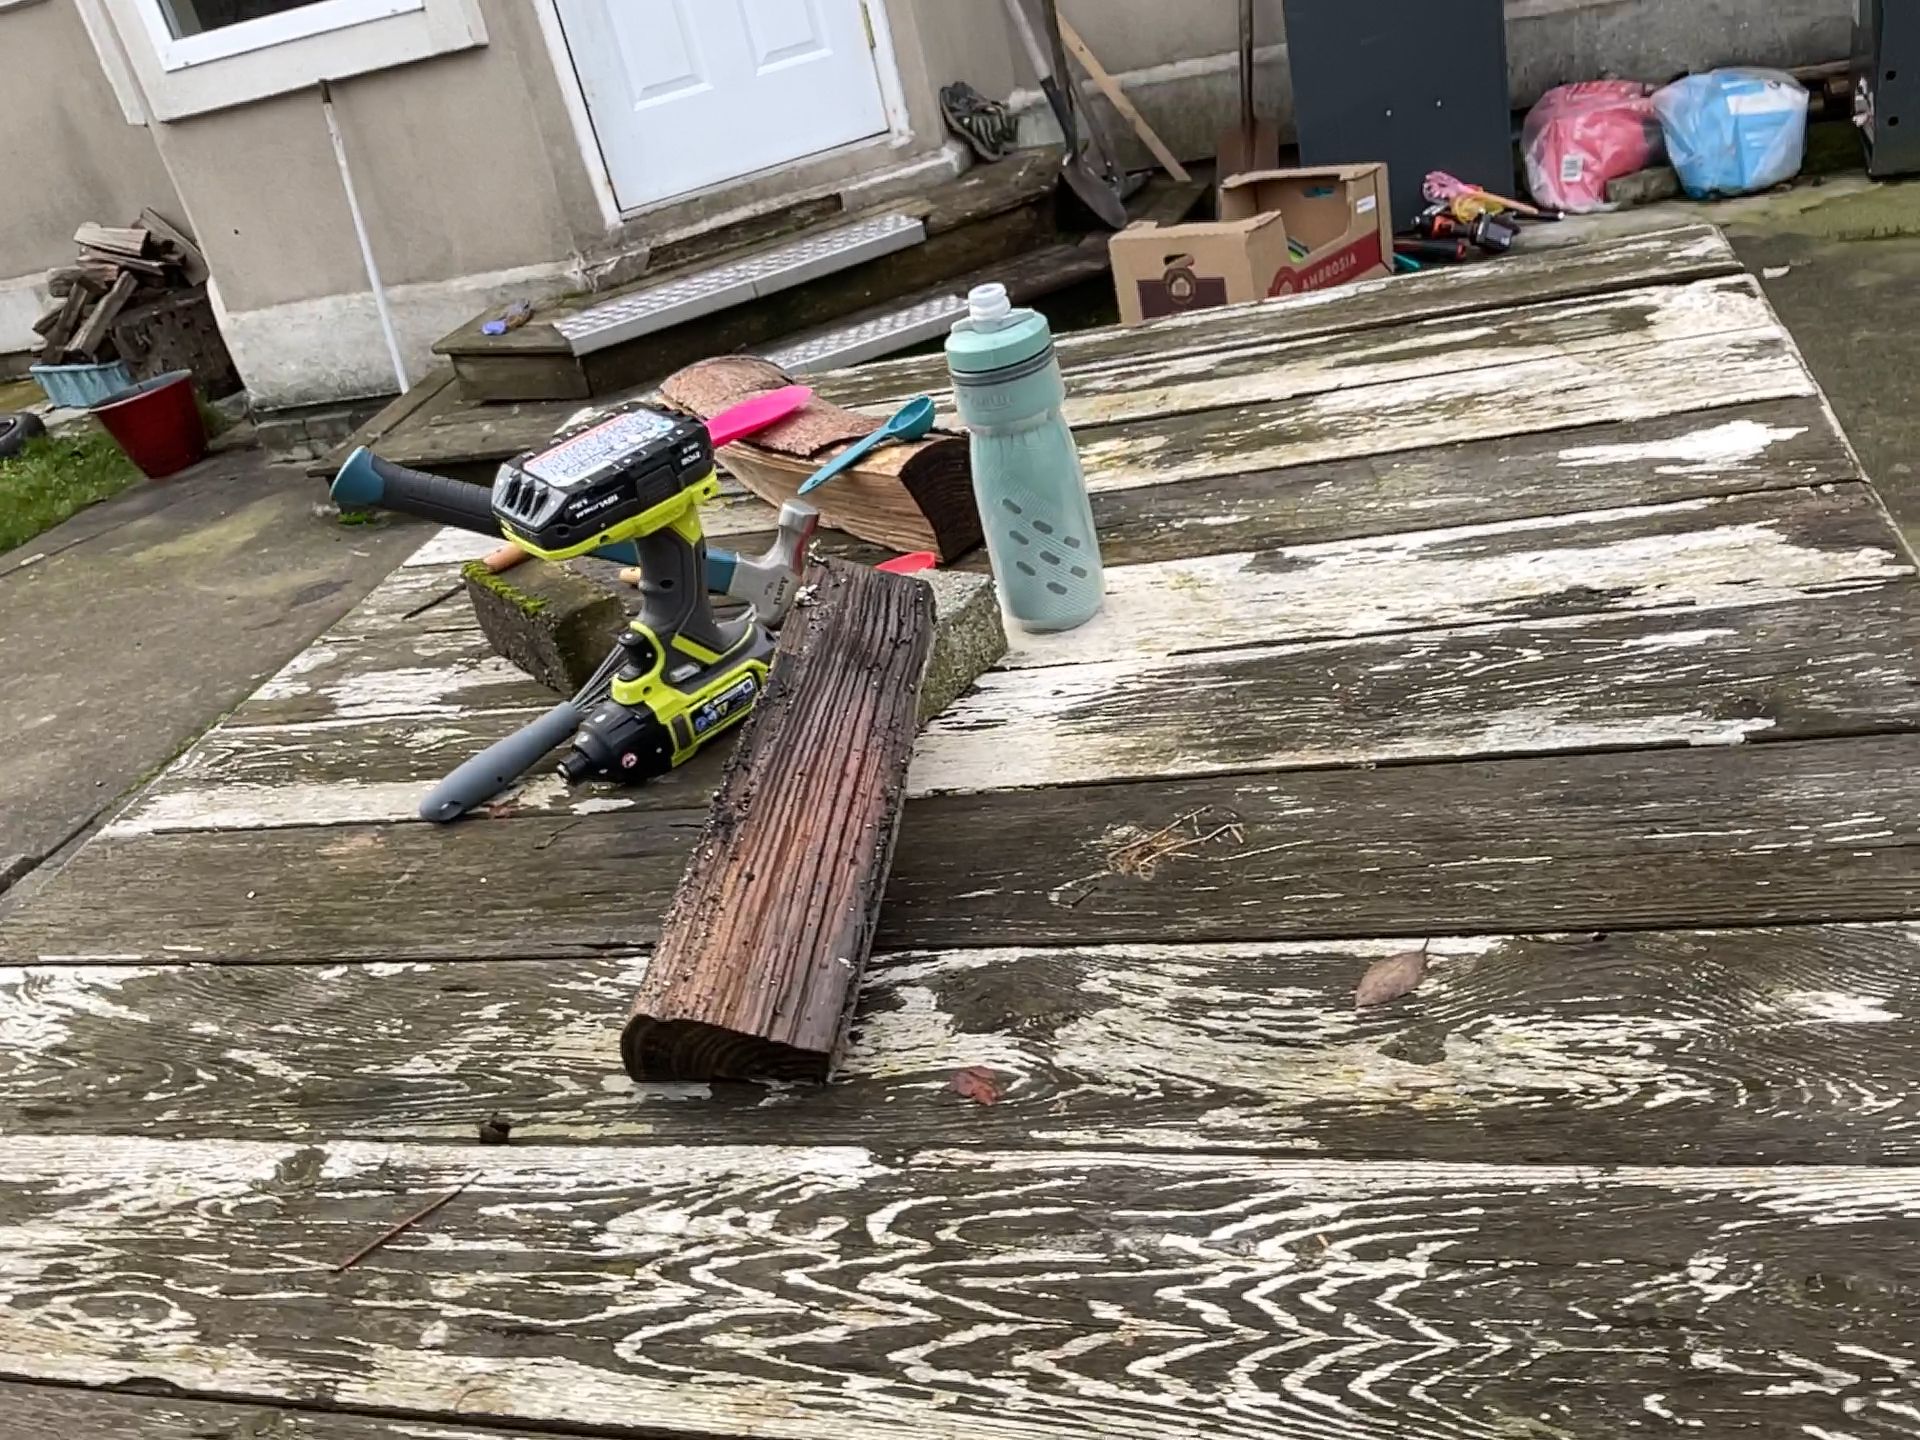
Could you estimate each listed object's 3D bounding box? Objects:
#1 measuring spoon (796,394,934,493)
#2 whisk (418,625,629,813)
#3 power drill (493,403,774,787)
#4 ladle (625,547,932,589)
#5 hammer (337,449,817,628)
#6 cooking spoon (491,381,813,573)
[{"bbox_3d":[-0.071,-0.209,1.240,0.128,0.021,0.042,-33,27,13],"label":"measuring spoon"},{"bbox_3d":[-0.276,-0.008,1.112,0.239,0.055,0.055,-38,28,-30],"label":"whisk"},{"bbox_3d":[-0.207,-0.072,1.024,0.171,0.223,0.080,-35,42,-30],"label":"power drill"},{"bbox_3d":[-0.152,-0.113,1.270,0.316,0.031,0.069,3,36,34],"label":"ladle"},{"bbox_3d":[-0.280,-0.136,1.166,0.330,0.128,0.033,13,22,-15],"label":"hammer"},{"bbox_3d":[-0.248,-0.205,1.308,0.319,0.017,0.069,-37,37,-27],"label":"cooking spoon"}]
